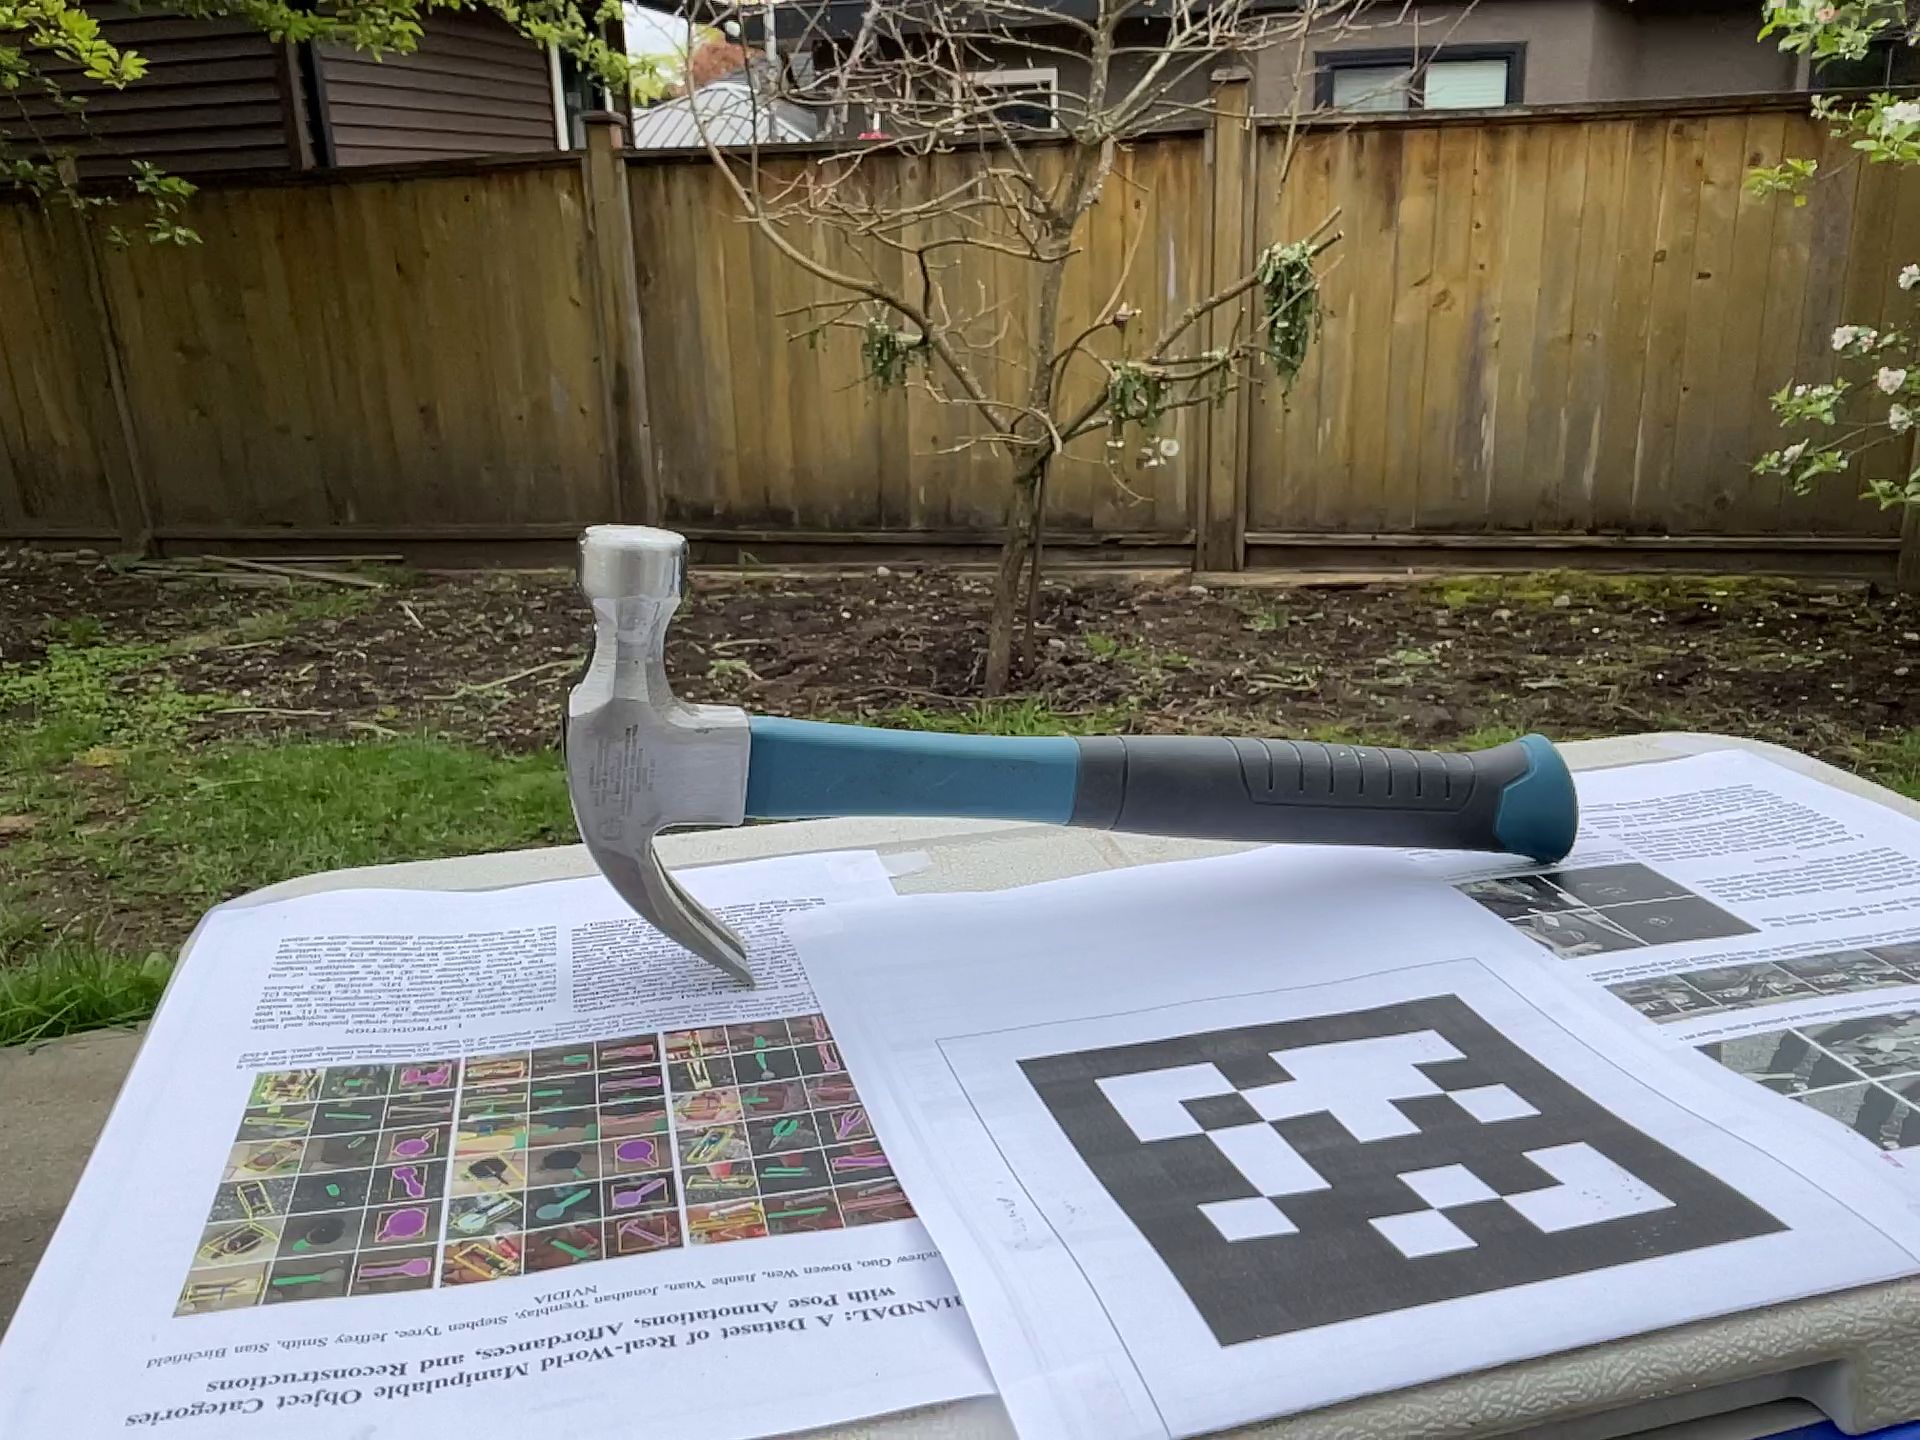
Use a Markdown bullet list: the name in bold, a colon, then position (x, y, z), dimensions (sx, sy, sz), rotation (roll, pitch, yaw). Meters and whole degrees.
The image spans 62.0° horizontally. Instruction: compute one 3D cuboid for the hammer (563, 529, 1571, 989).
- **hammer**: position (0.046, 0.019, 0.495), dimensions (0.331, 0.128, 0.033), rotation (3, 16, -18)
